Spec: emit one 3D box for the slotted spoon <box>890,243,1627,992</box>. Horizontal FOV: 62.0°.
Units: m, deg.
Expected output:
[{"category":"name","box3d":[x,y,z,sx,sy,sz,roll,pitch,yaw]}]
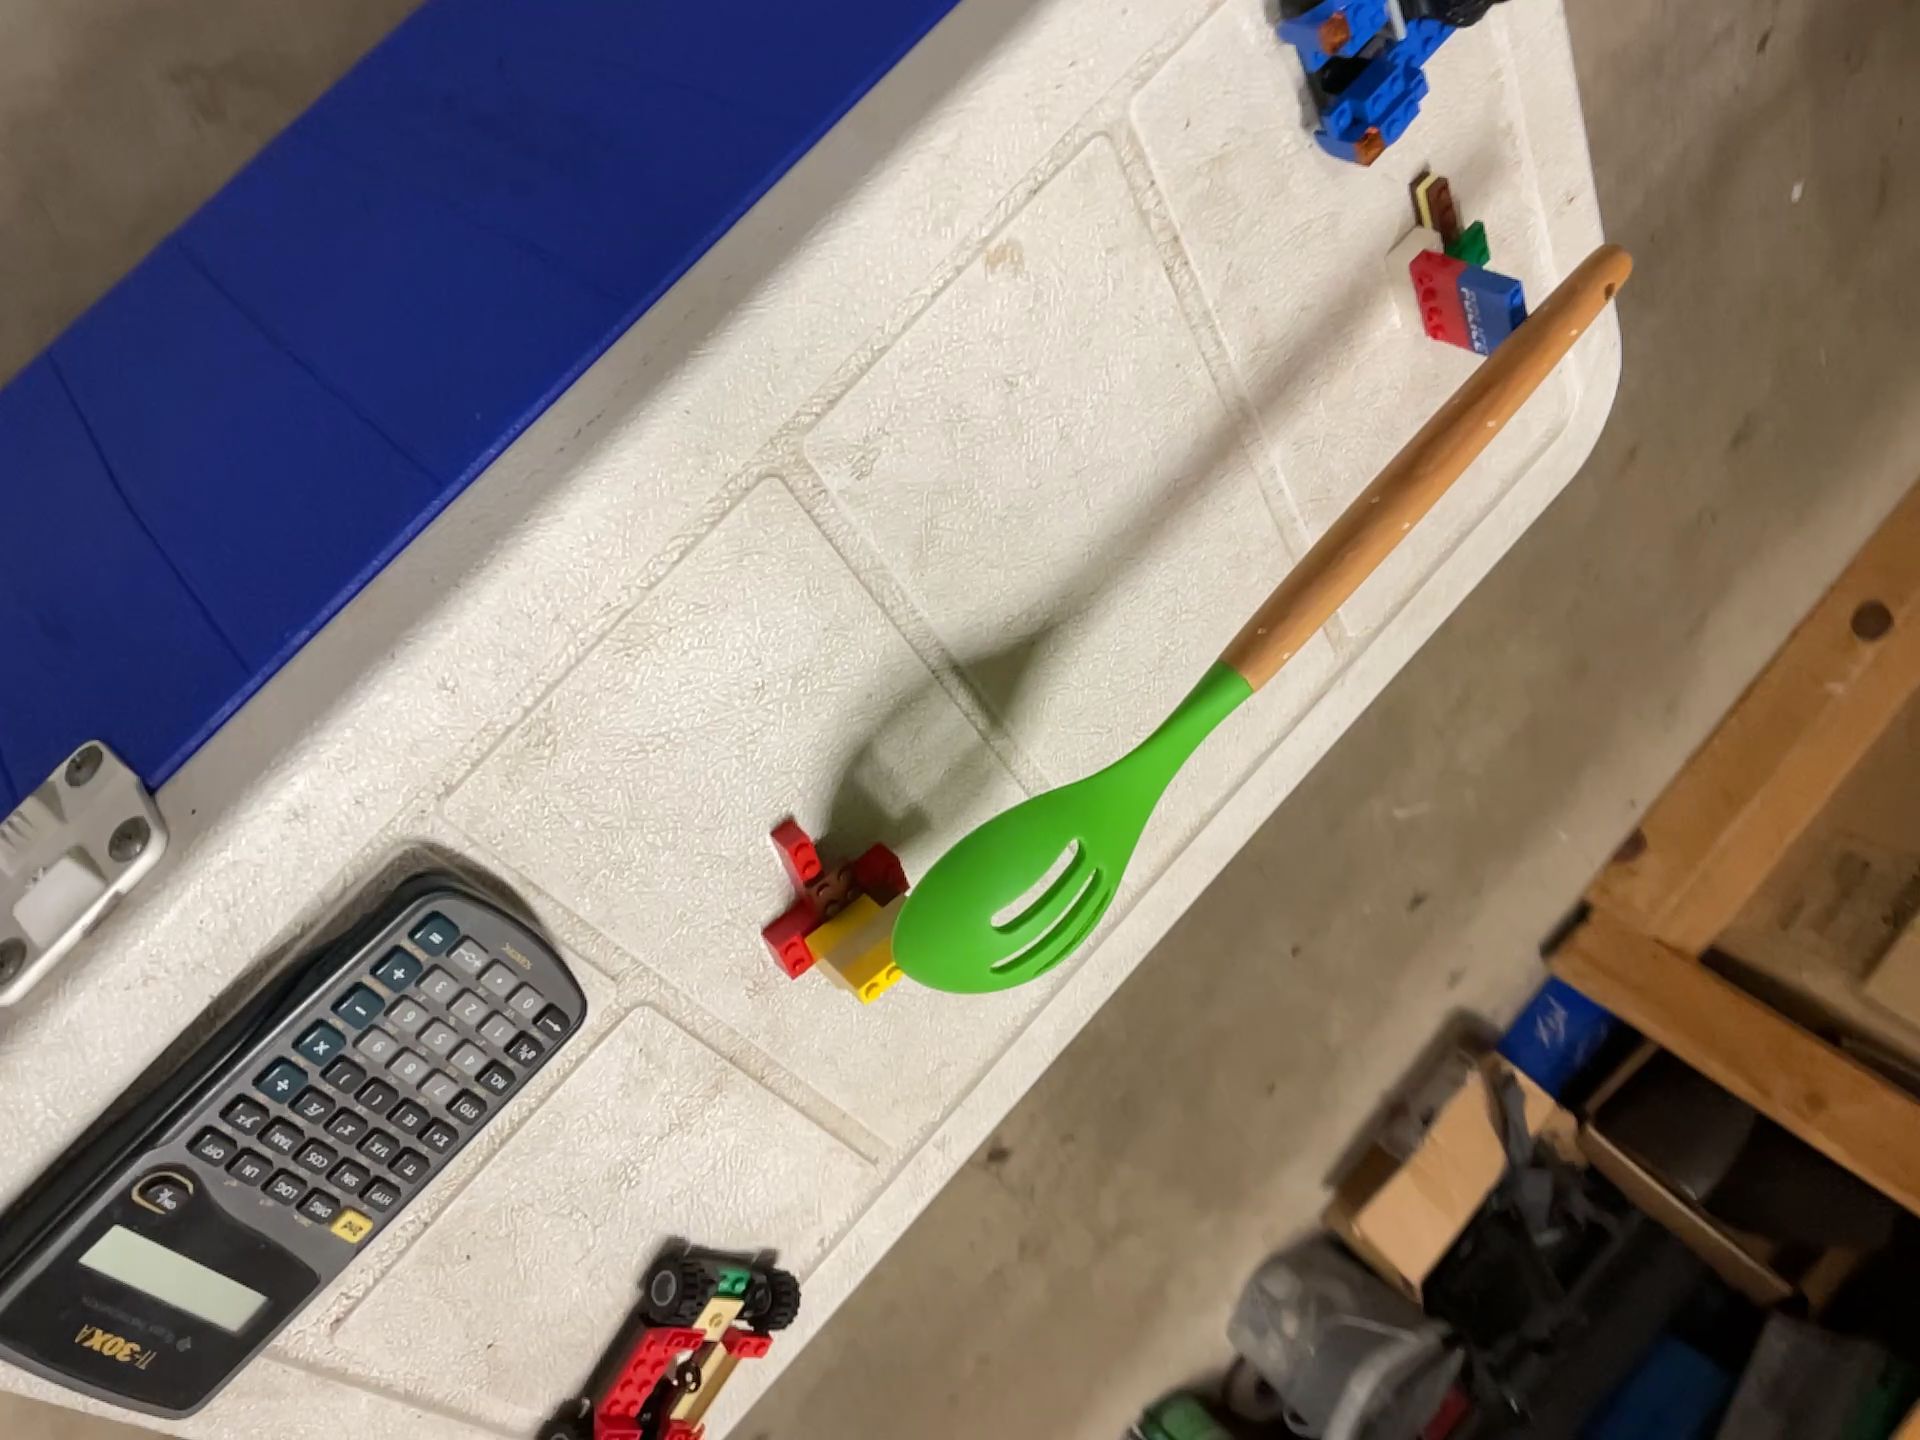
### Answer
[{"category":"slotted spoon","box3d":[0.099,-0.033,0.481,0.314,0.031,0.070,-47,137,-8]}]
